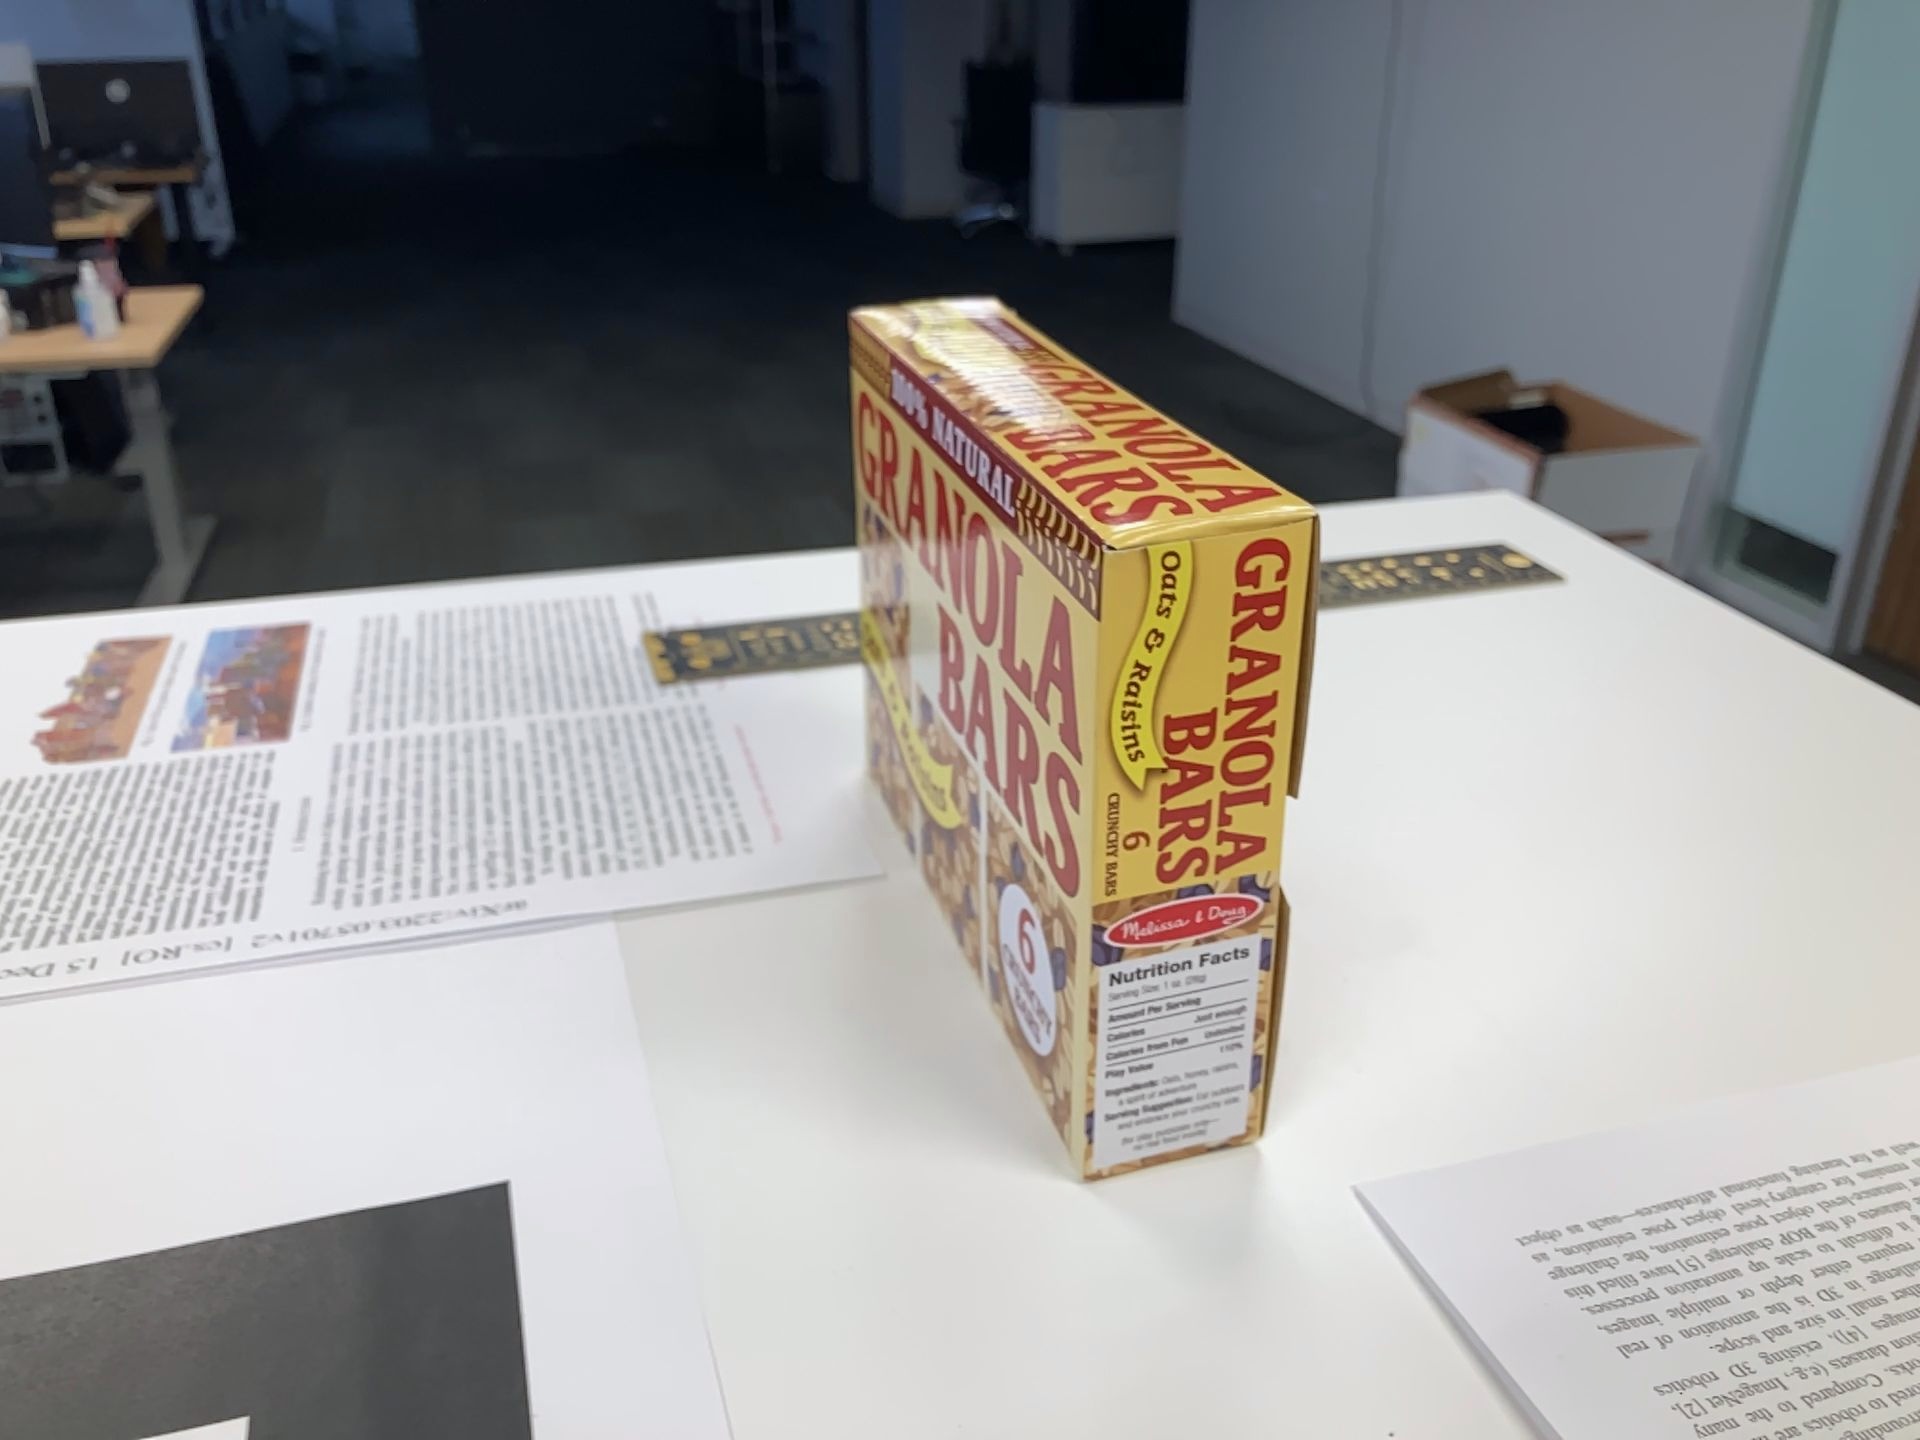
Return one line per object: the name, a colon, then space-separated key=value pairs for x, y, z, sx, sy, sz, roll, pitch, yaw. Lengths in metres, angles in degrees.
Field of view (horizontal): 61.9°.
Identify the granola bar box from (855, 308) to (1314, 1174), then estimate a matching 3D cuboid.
granola bar box: x=0.016 y=-0.009 z=0.338 sx=0.039 sy=0.124 sz=0.165 roll=-8 pitch=26 yaw=-15
